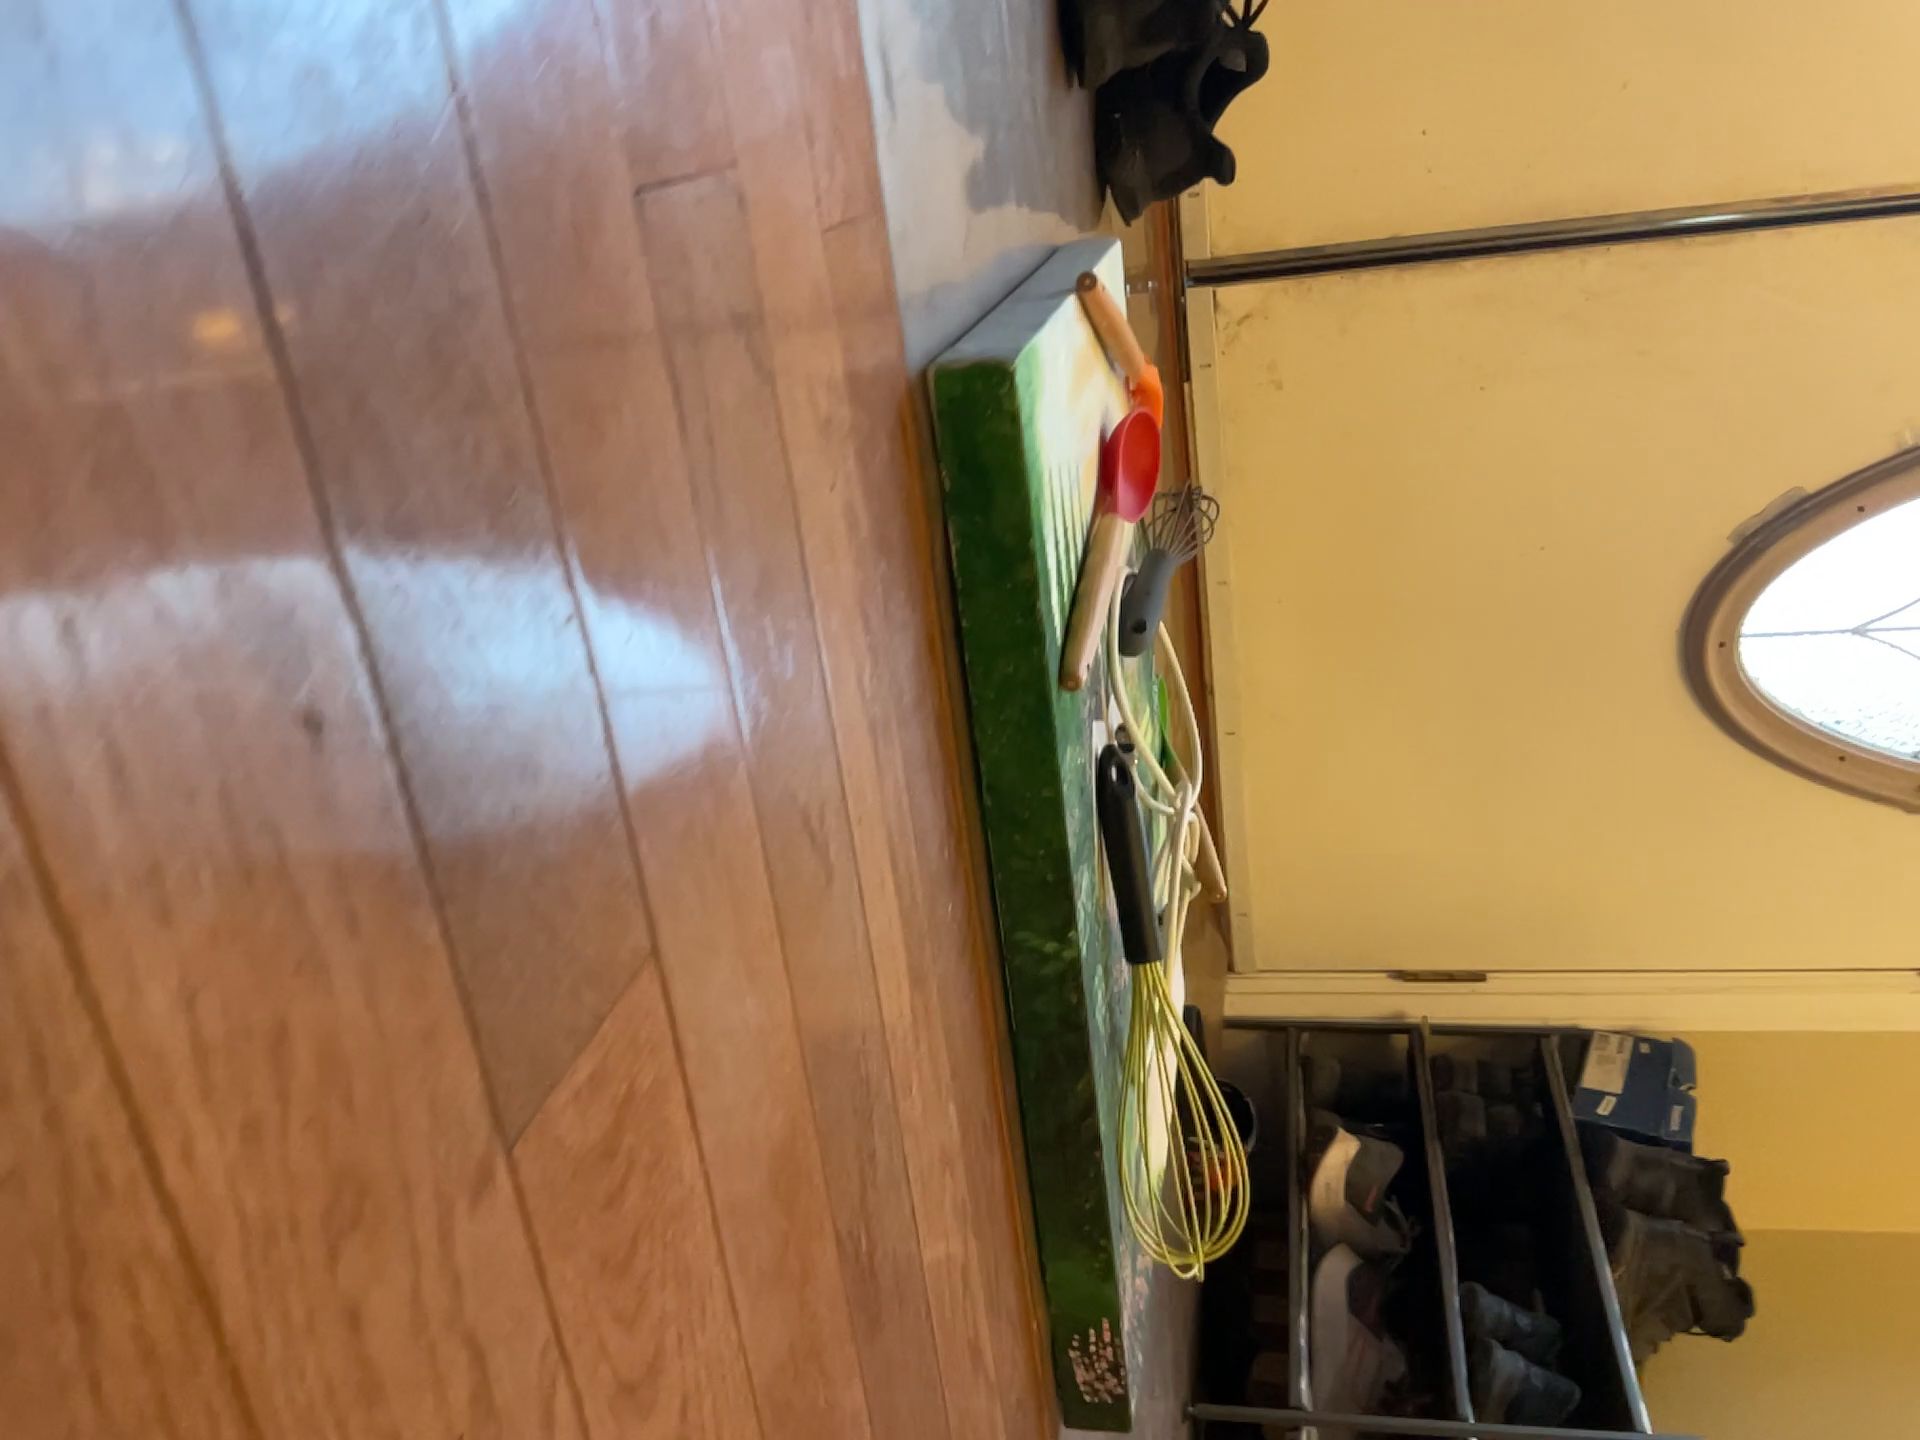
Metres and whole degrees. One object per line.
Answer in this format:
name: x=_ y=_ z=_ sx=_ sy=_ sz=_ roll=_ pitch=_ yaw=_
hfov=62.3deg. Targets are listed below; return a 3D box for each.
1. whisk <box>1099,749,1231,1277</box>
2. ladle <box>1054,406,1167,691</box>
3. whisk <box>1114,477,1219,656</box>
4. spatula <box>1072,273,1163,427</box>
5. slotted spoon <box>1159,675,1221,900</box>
whisk: x=0.109 y=0.170 z=0.918 sx=0.080 sy=0.067 sz=0.311 roll=-32 pitch=114 yaw=-81
ladle: x=0.085 y=-0.100 z=0.903 sx=0.316 sy=0.031 sz=0.069 roll=-67 pitch=151 yaw=-56
whisk: x=0.139 y=-0.107 z=1.096 sx=0.239 sy=0.055 sz=0.055 roll=-62 pitch=138 yaw=-54
spatula: x=0.100 y=-0.232 z=1.031 sx=0.322 sy=0.041 sz=0.081 roll=8 pitch=69 yaw=-75
slotted spoon: x=0.164 y=0.048 z=1.192 sx=0.314 sy=0.031 sz=0.070 roll=-92 pitch=175 yaw=-65
